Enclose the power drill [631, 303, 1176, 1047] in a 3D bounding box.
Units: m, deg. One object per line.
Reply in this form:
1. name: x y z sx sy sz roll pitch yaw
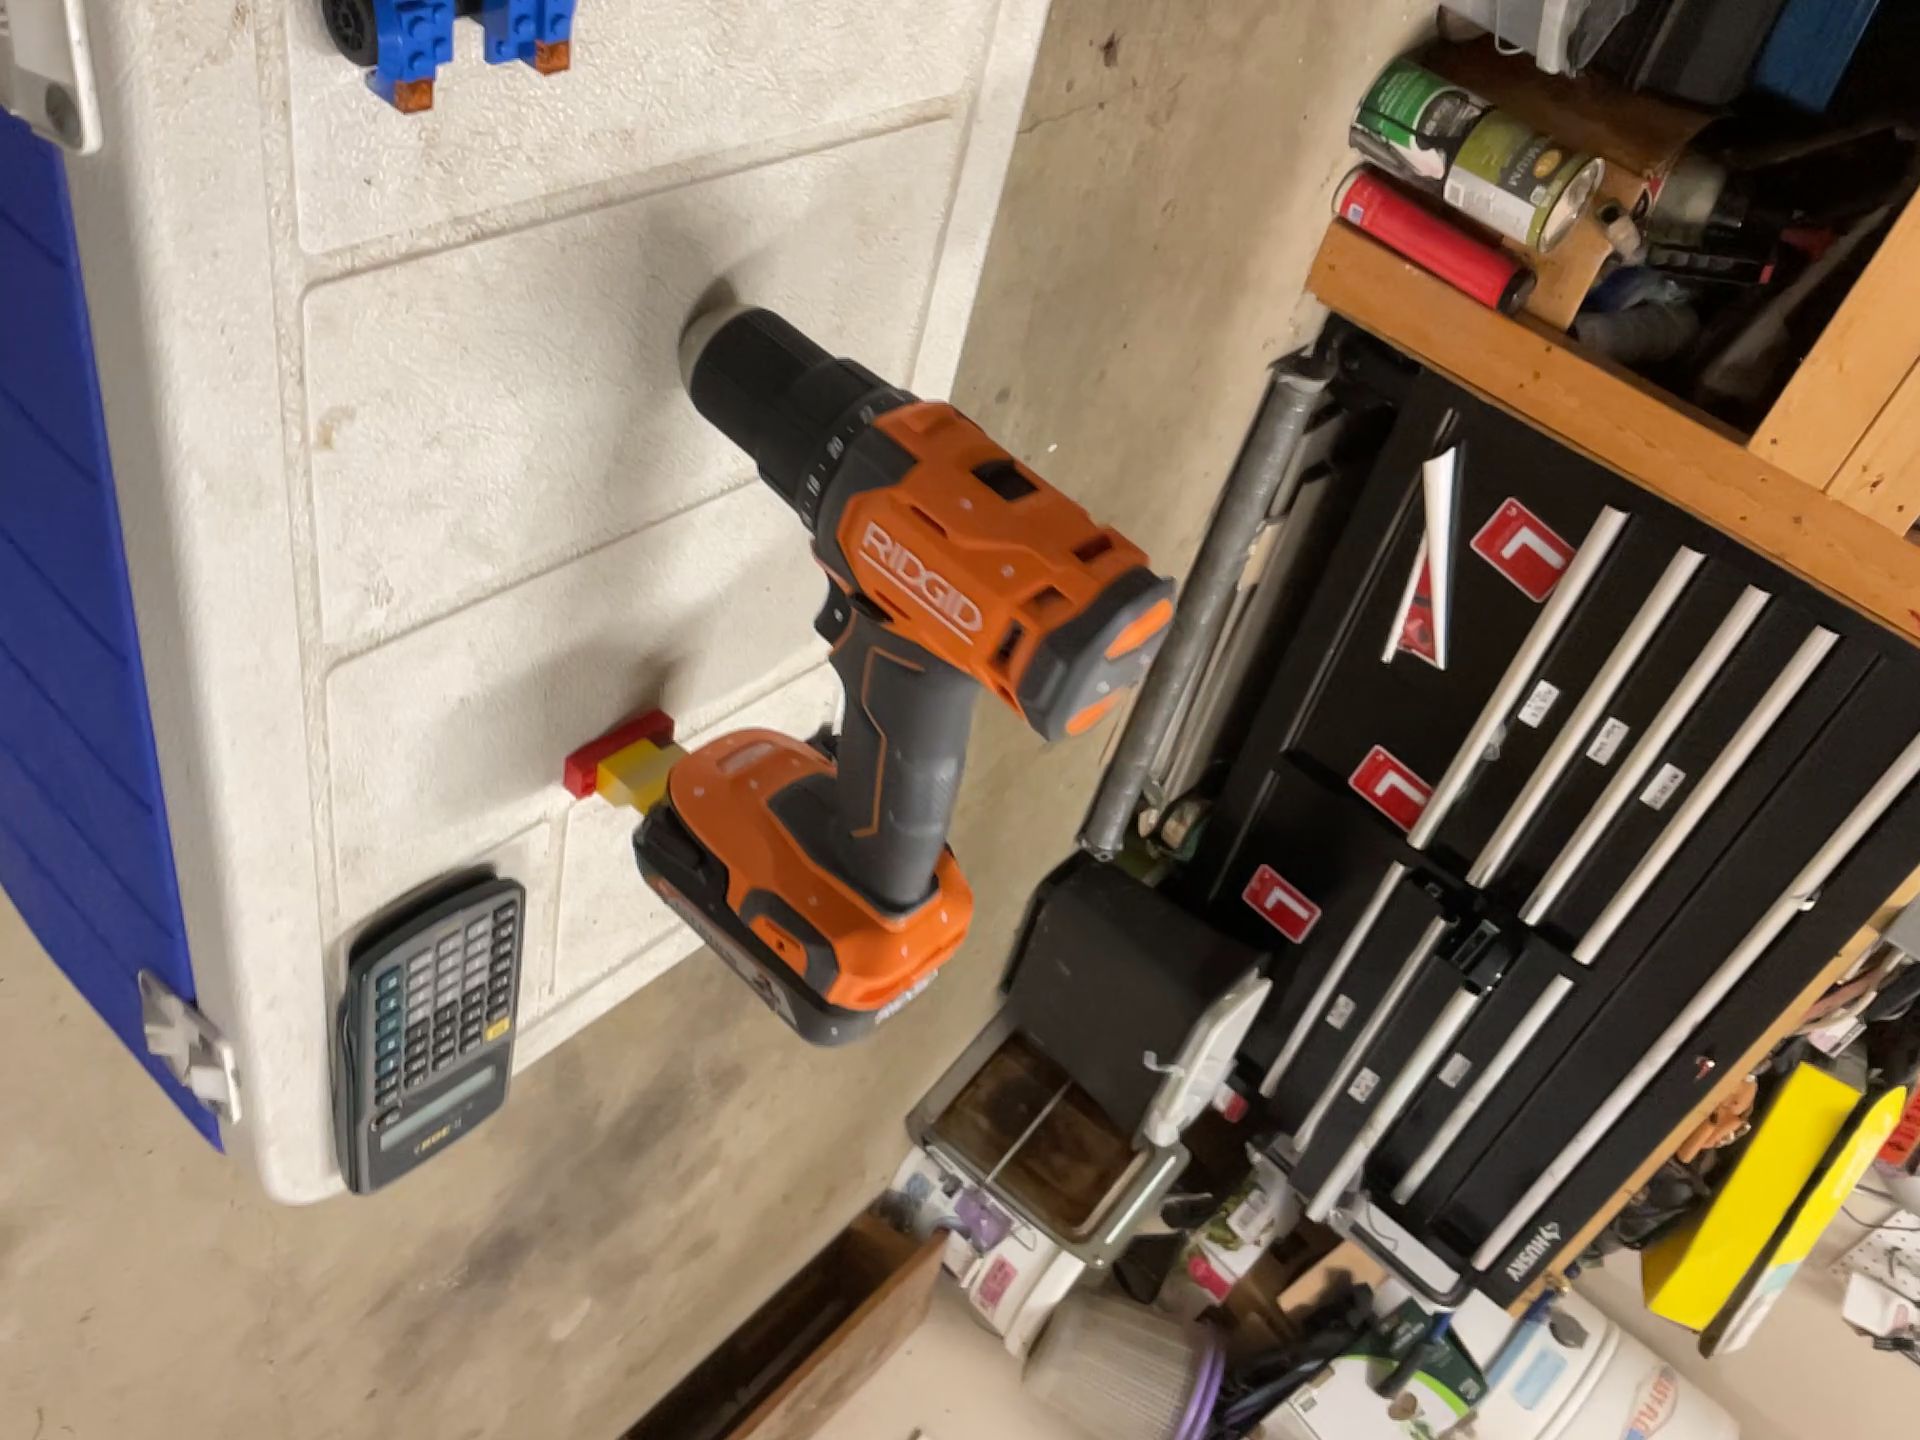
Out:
1. power drill: -0.046 -0.016 0.554 0.084 0.185 0.225 -32 156 -47
